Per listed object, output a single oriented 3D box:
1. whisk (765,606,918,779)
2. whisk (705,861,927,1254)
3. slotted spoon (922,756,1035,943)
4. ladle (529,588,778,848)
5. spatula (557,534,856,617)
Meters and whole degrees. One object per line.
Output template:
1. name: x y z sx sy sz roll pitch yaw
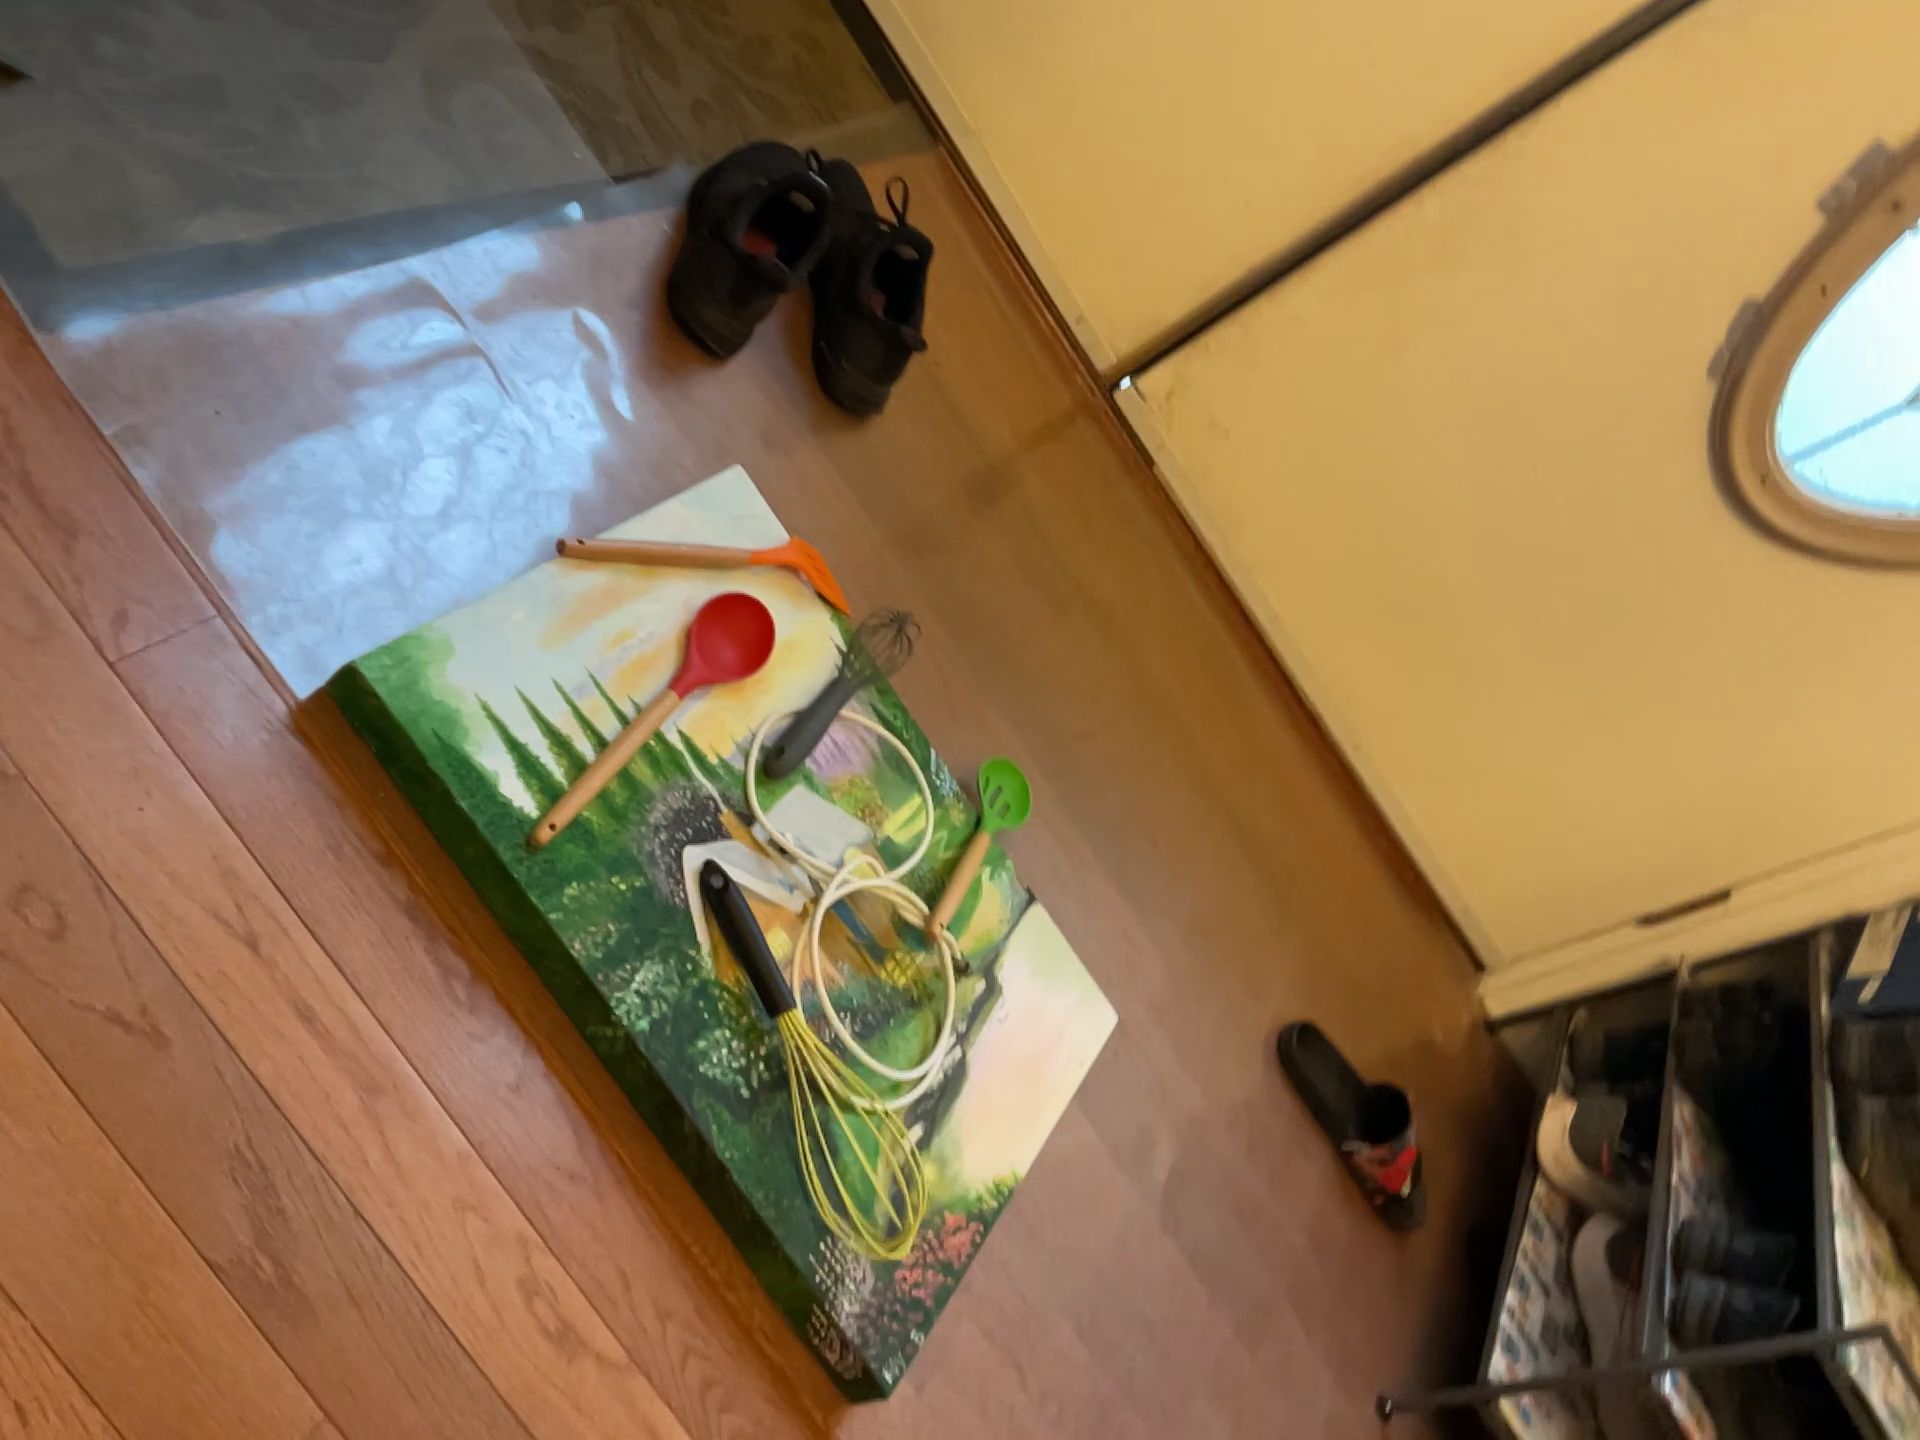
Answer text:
1. whisk: -0.099 -0.025 1.336 0.055 0.055 0.239 43 44 -7
2. whisk: -0.112 0.240 1.139 0.080 0.067 0.312 -11 70 -59
3. slotted spoon: 0.013 0.112 1.385 0.070 0.031 0.314 55 24 -10
4. ladle: -0.225 -0.004 1.181 0.069 0.031 0.316 50 39 -13
5. spatula: -0.200 -0.129 1.314 0.322 0.041 0.081 -3 58 -50
